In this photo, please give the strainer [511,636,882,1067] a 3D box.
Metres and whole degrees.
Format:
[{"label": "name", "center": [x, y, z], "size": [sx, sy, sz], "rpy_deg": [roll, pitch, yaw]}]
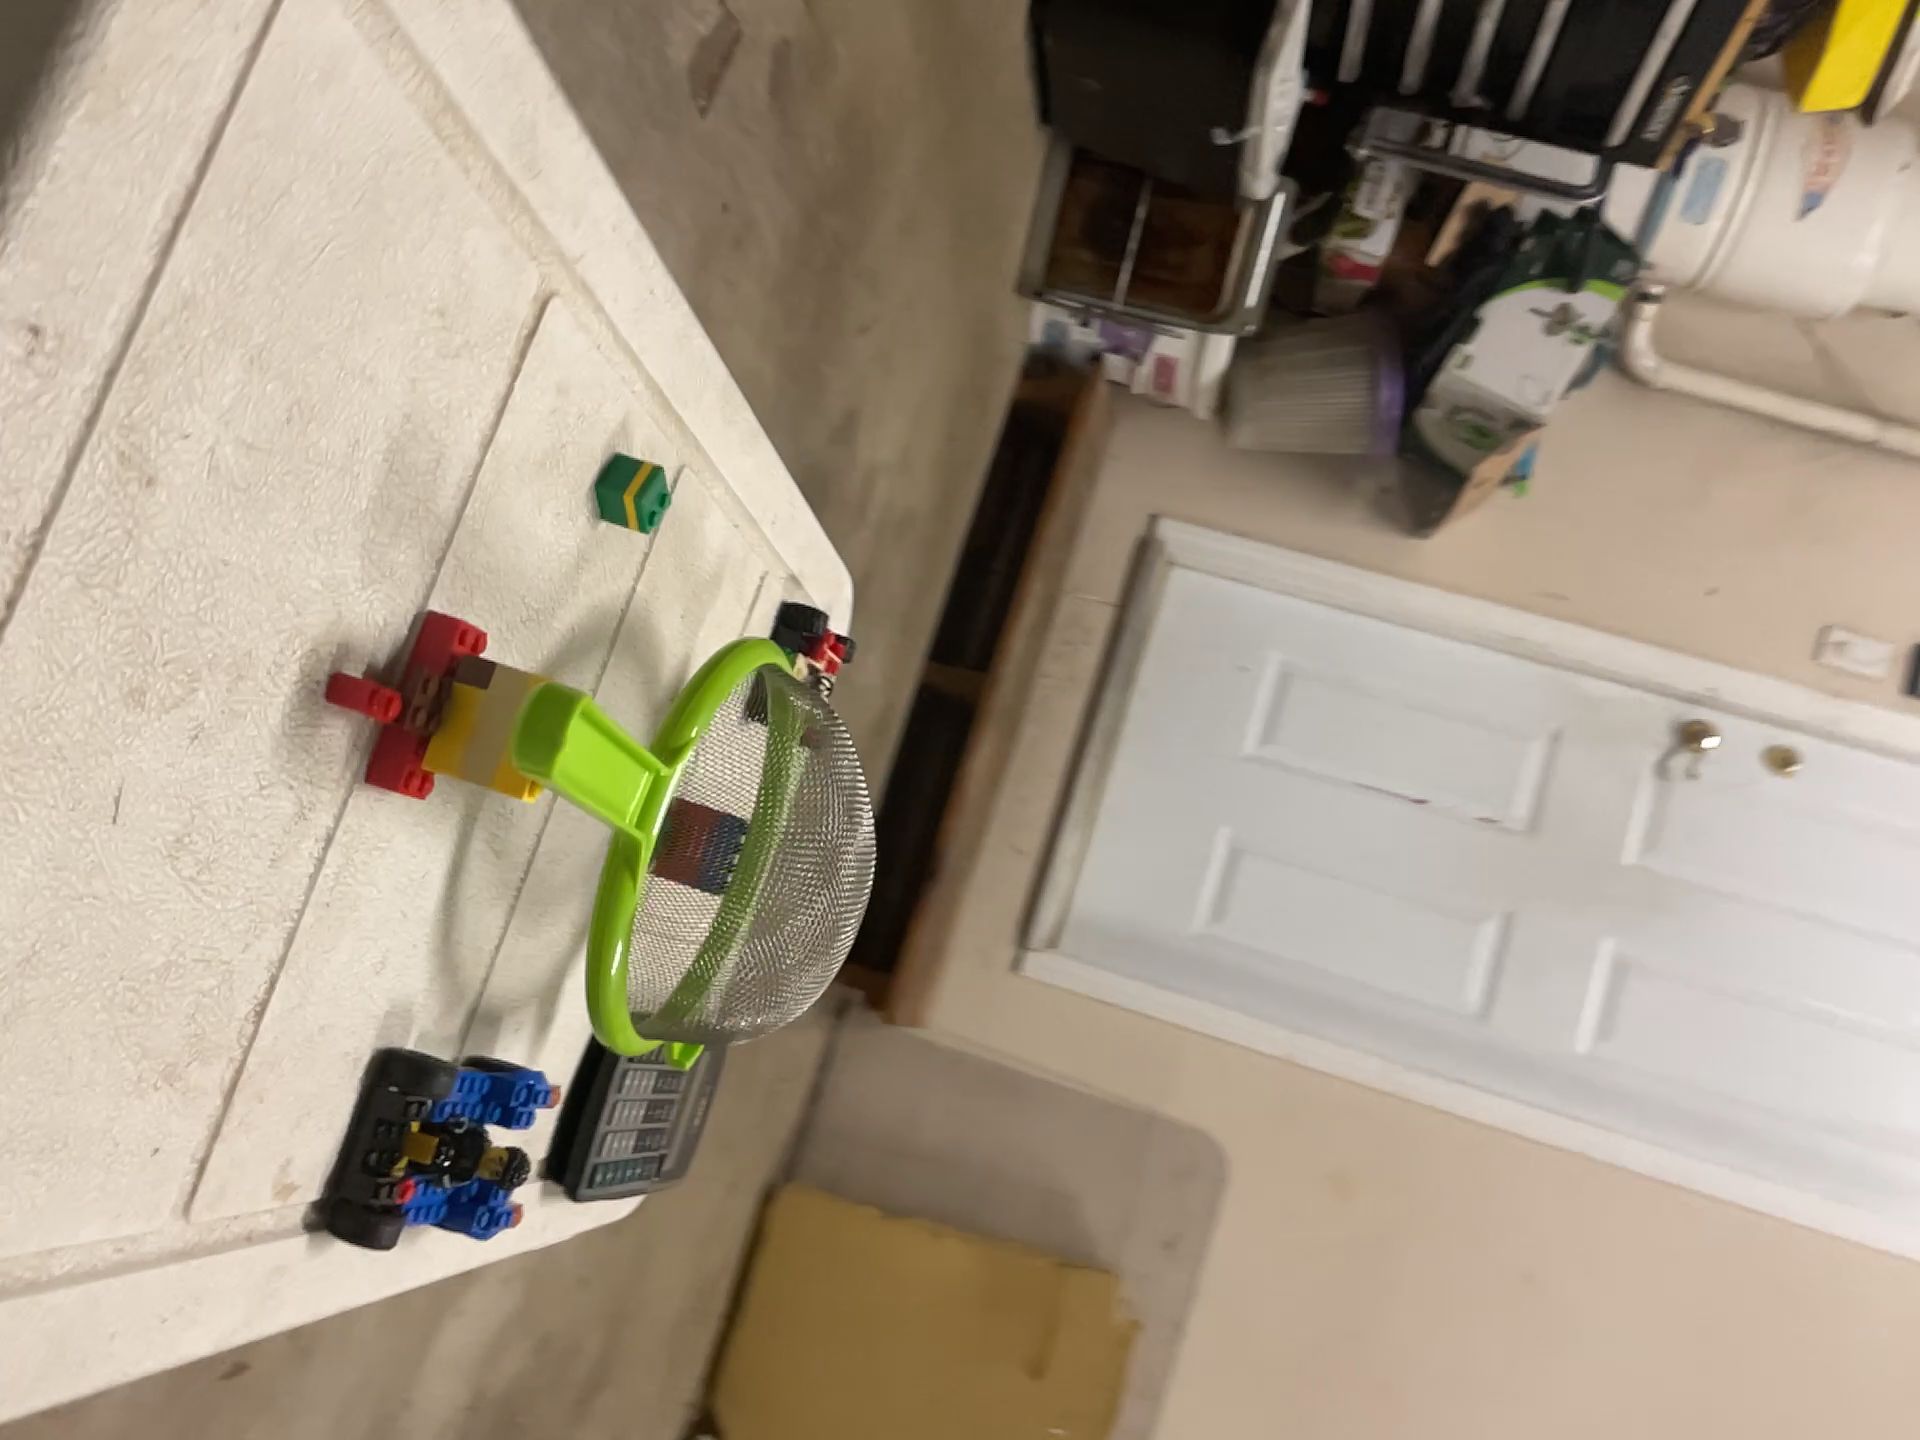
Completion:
[{"label": "strainer", "center": [-0.069, 0.039, 0.501], "size": [0.256, 0.069, 0.151], "rpy_deg": [75, 35, -76]}]
